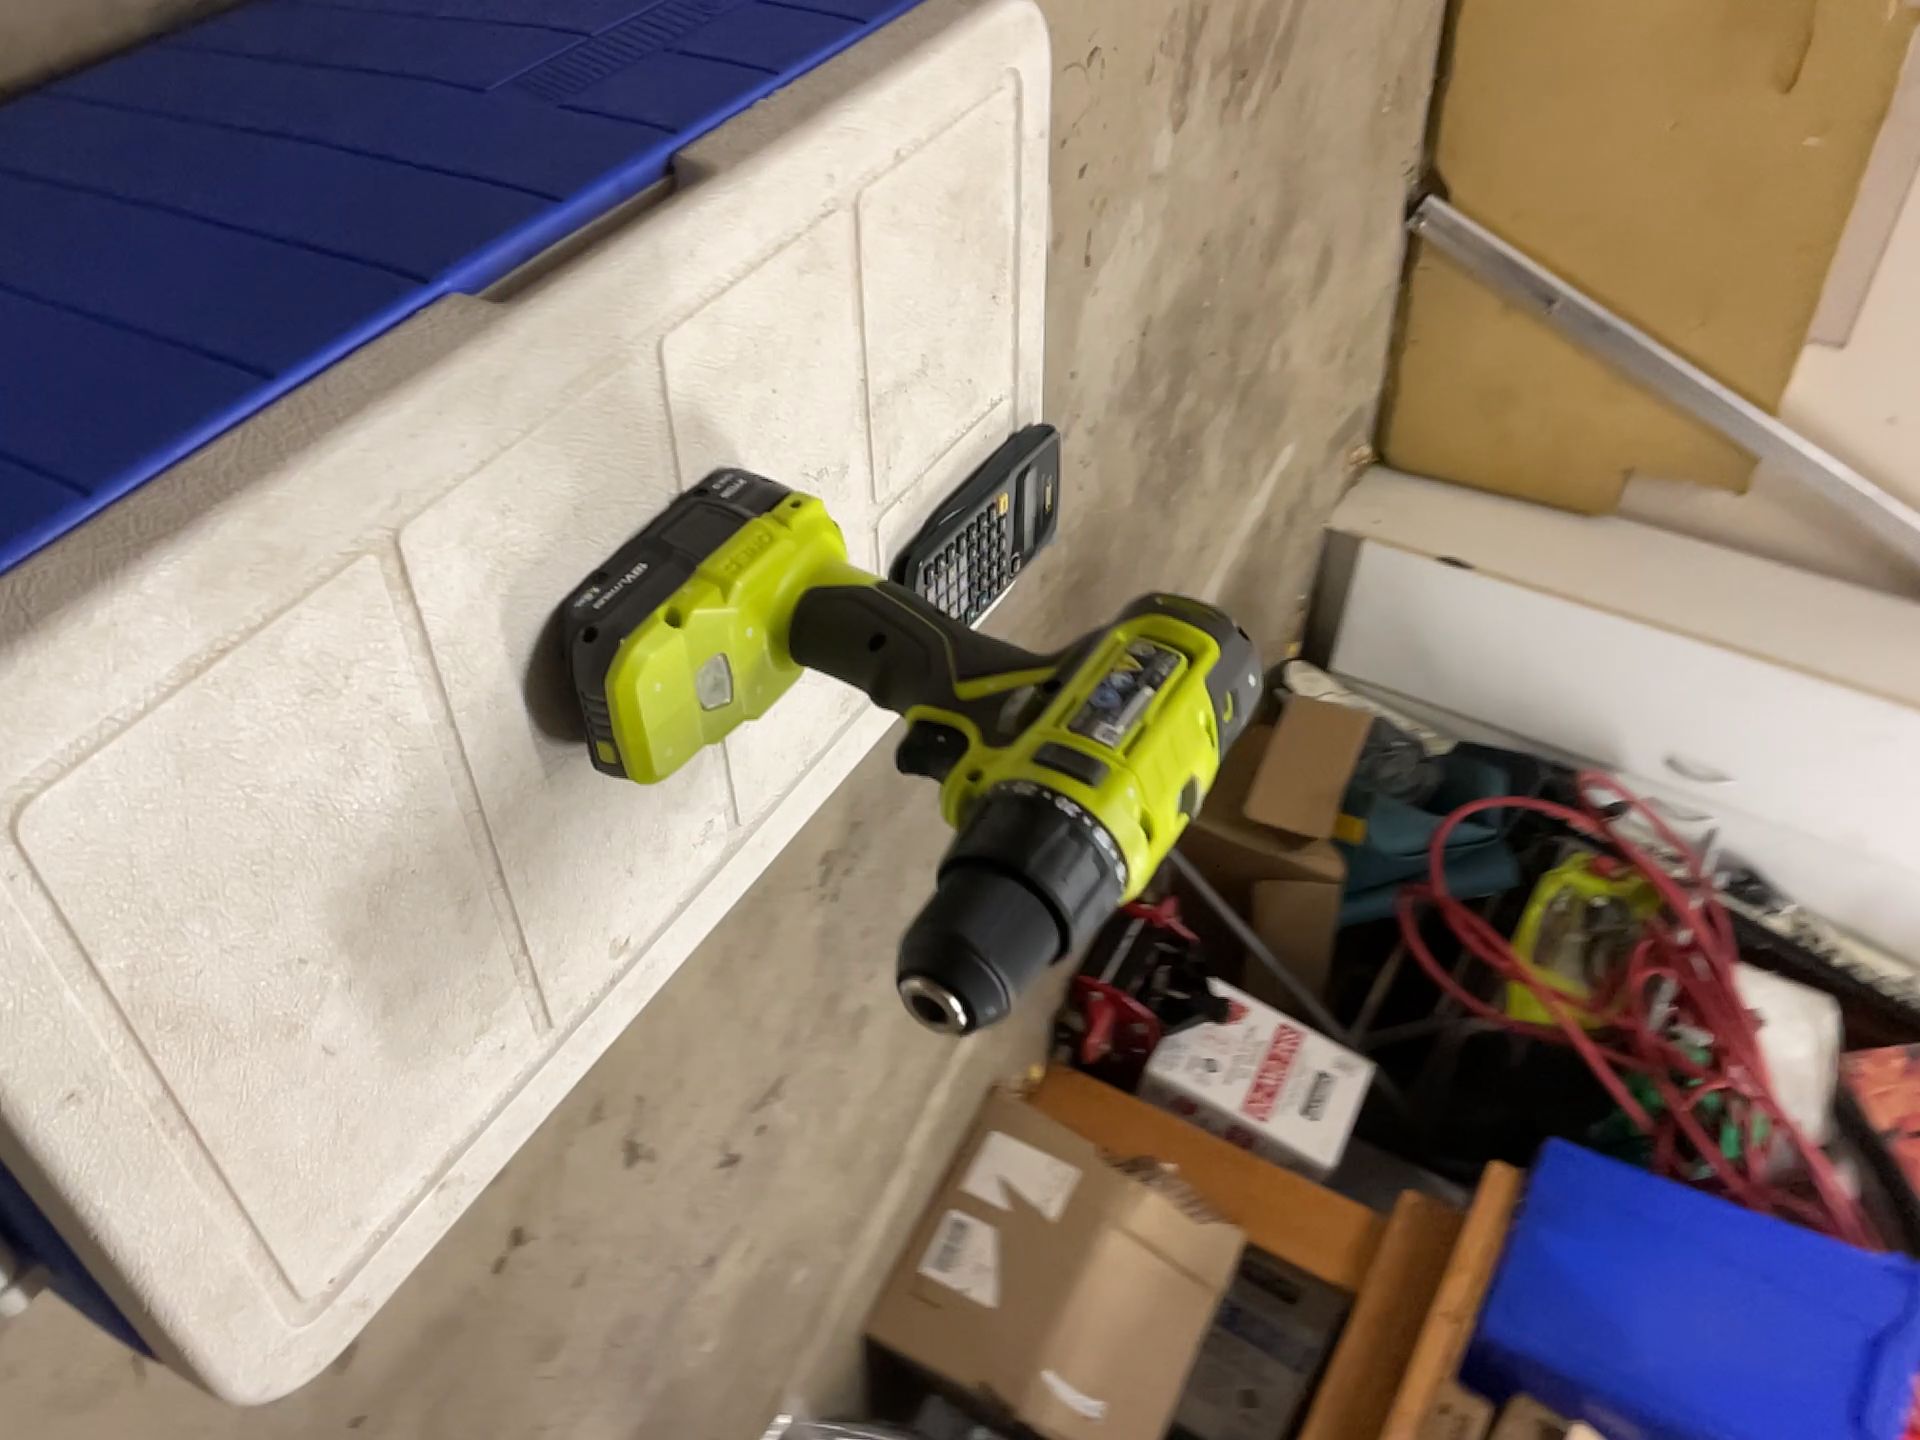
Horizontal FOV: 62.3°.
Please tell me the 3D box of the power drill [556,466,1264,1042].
[{"bbox_3d":[-0.029,0.003,0.568,0.191,0.228,0.080,-49,151,-37],"label":"power drill"}]
